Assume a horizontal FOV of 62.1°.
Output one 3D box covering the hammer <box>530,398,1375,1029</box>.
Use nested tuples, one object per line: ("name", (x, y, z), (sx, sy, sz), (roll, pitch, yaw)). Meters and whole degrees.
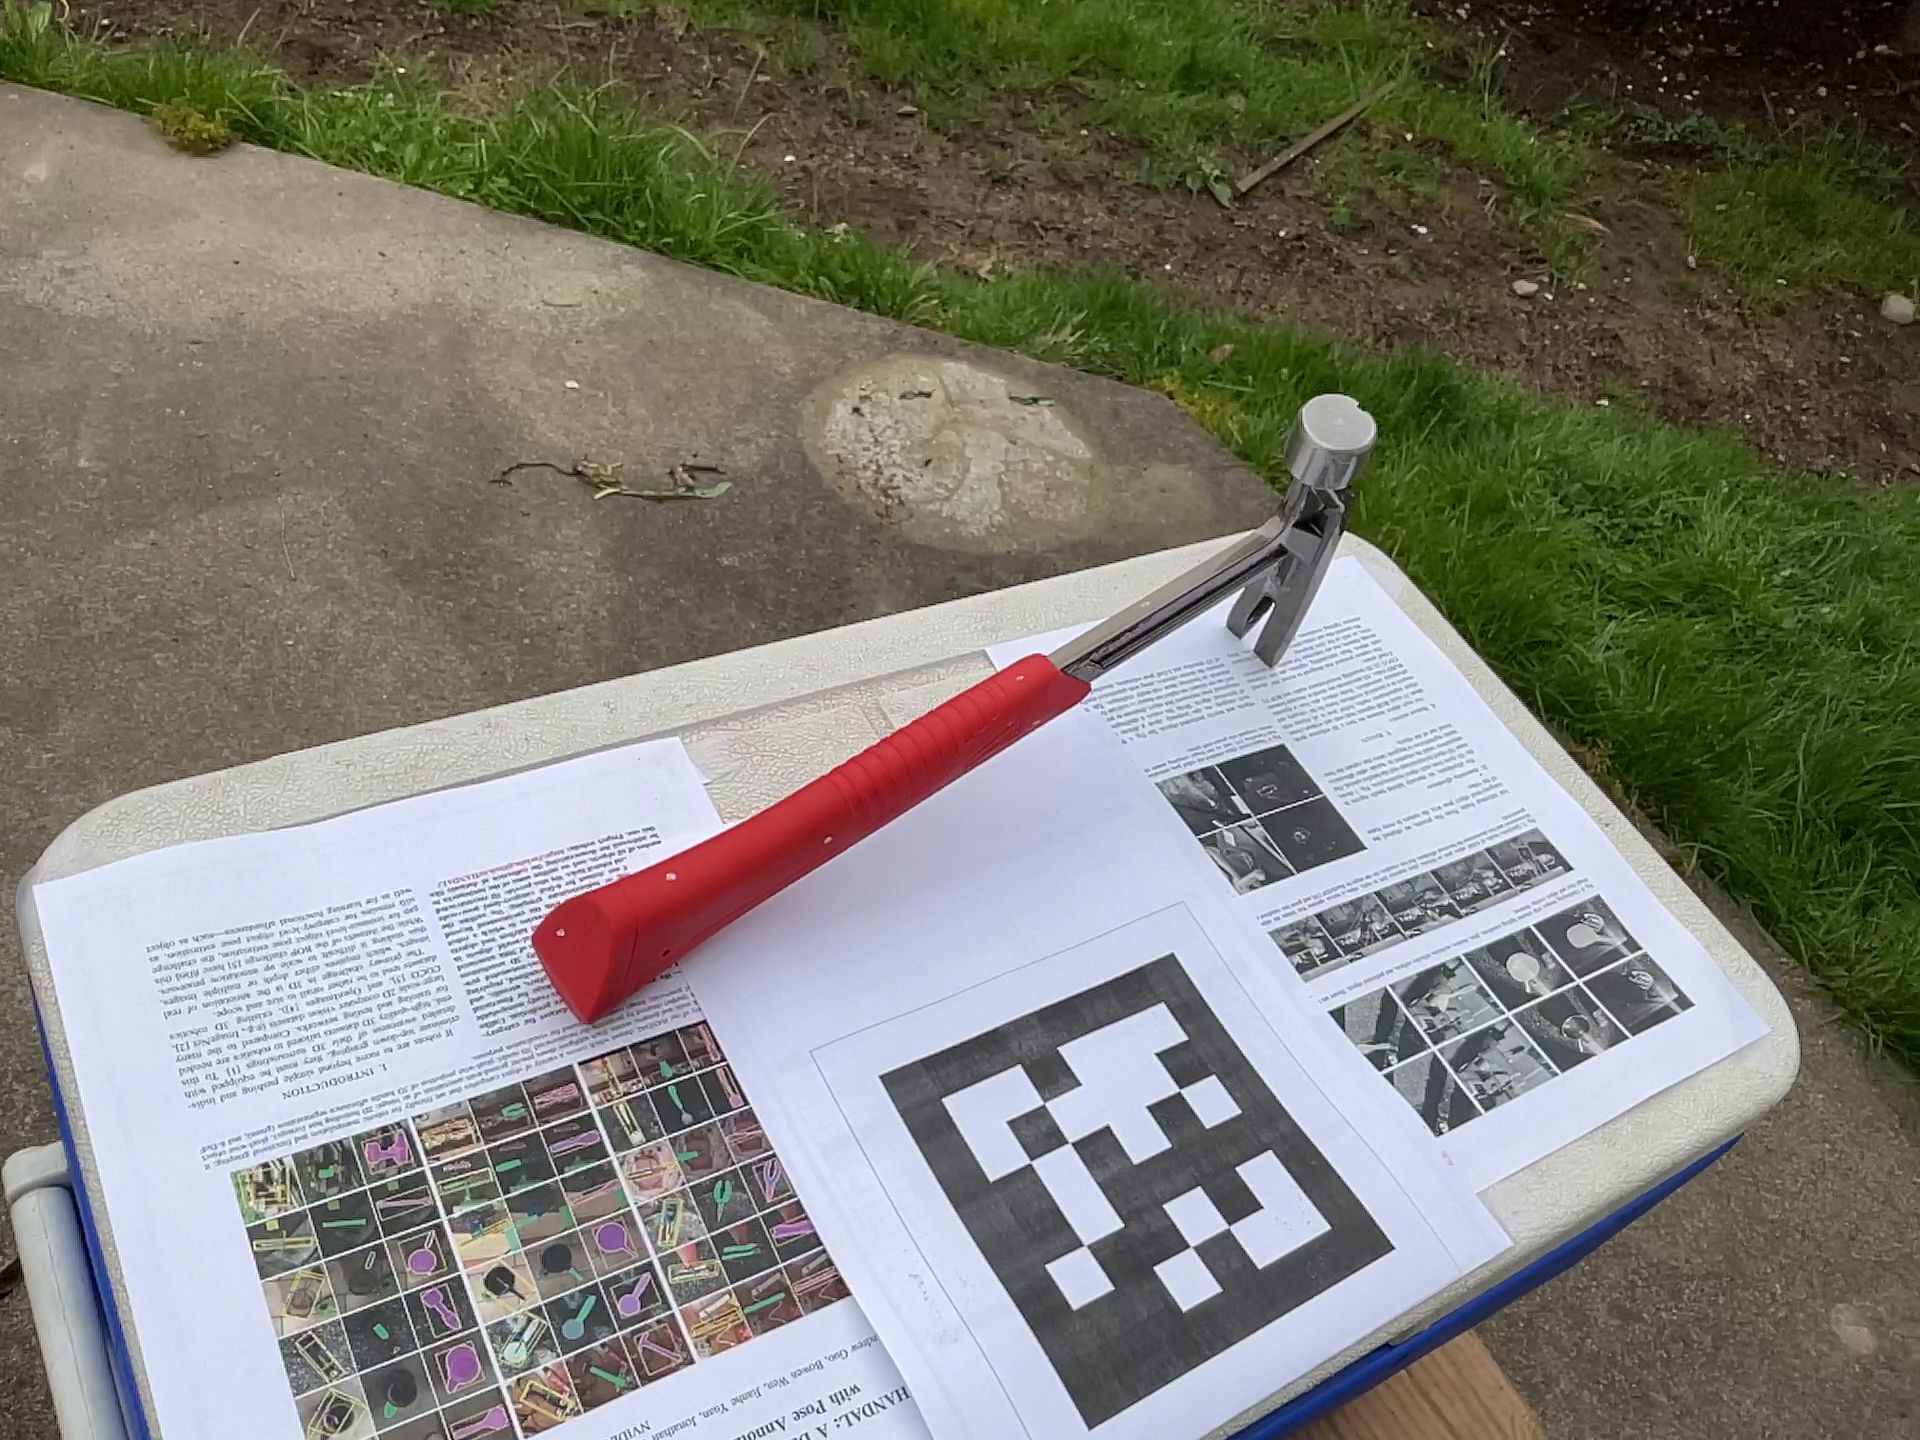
("hammer", (0.009, 0.005, 0.595), (0.359, 0.149, 0.037), (-32, 65, -24))
